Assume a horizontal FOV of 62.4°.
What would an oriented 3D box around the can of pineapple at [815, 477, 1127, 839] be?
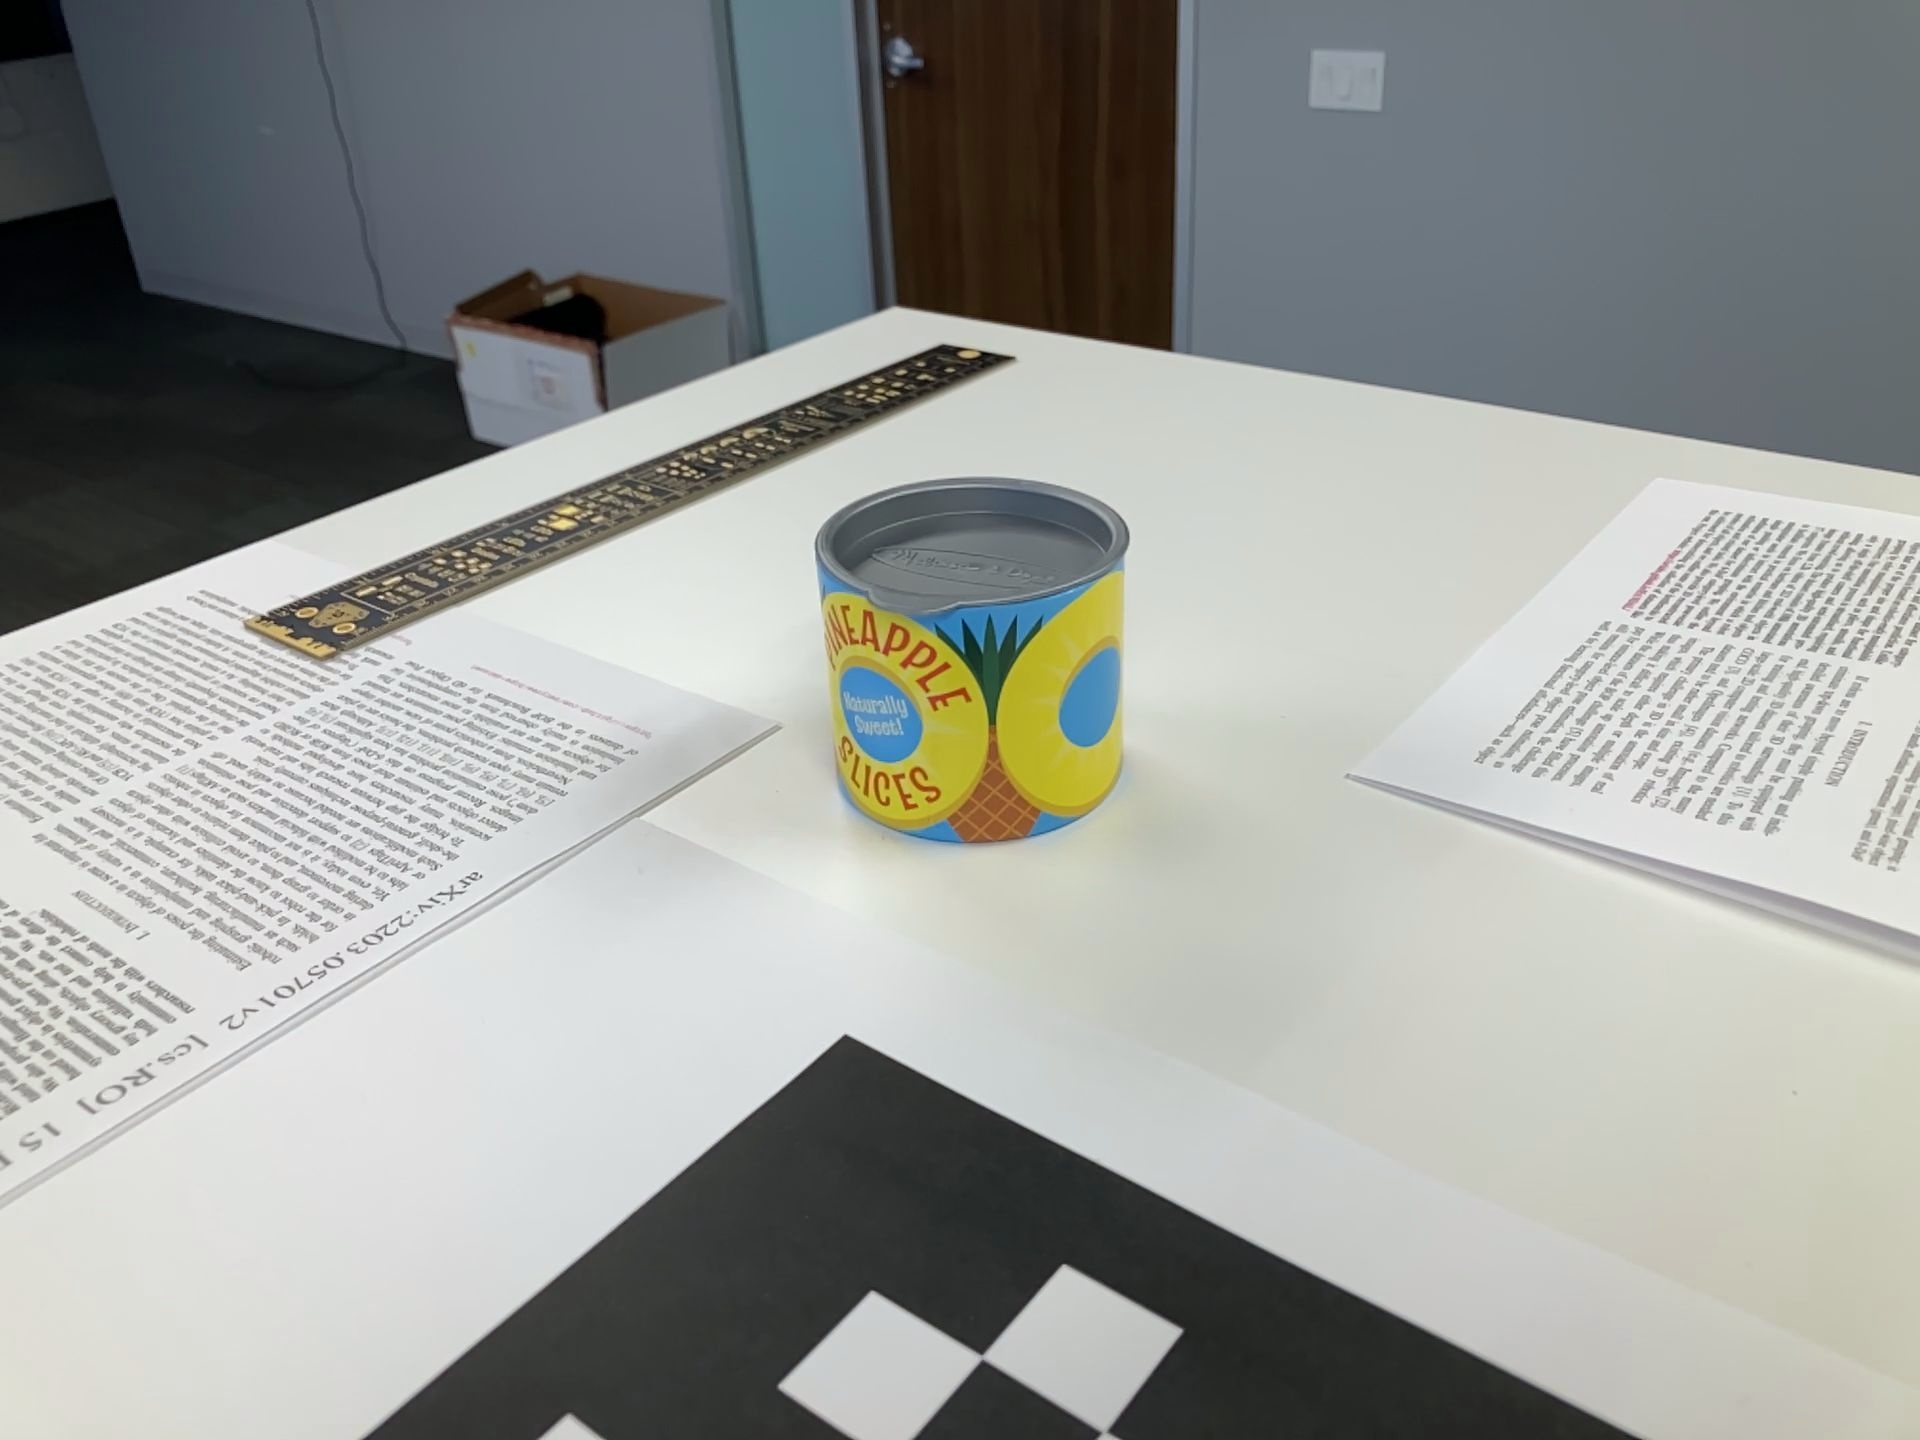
[{"bbox_3d":[0.002,-0.014,0.347,0.071,0.058,0.071,-2,29,1],"label":"can of pineapple"}]
